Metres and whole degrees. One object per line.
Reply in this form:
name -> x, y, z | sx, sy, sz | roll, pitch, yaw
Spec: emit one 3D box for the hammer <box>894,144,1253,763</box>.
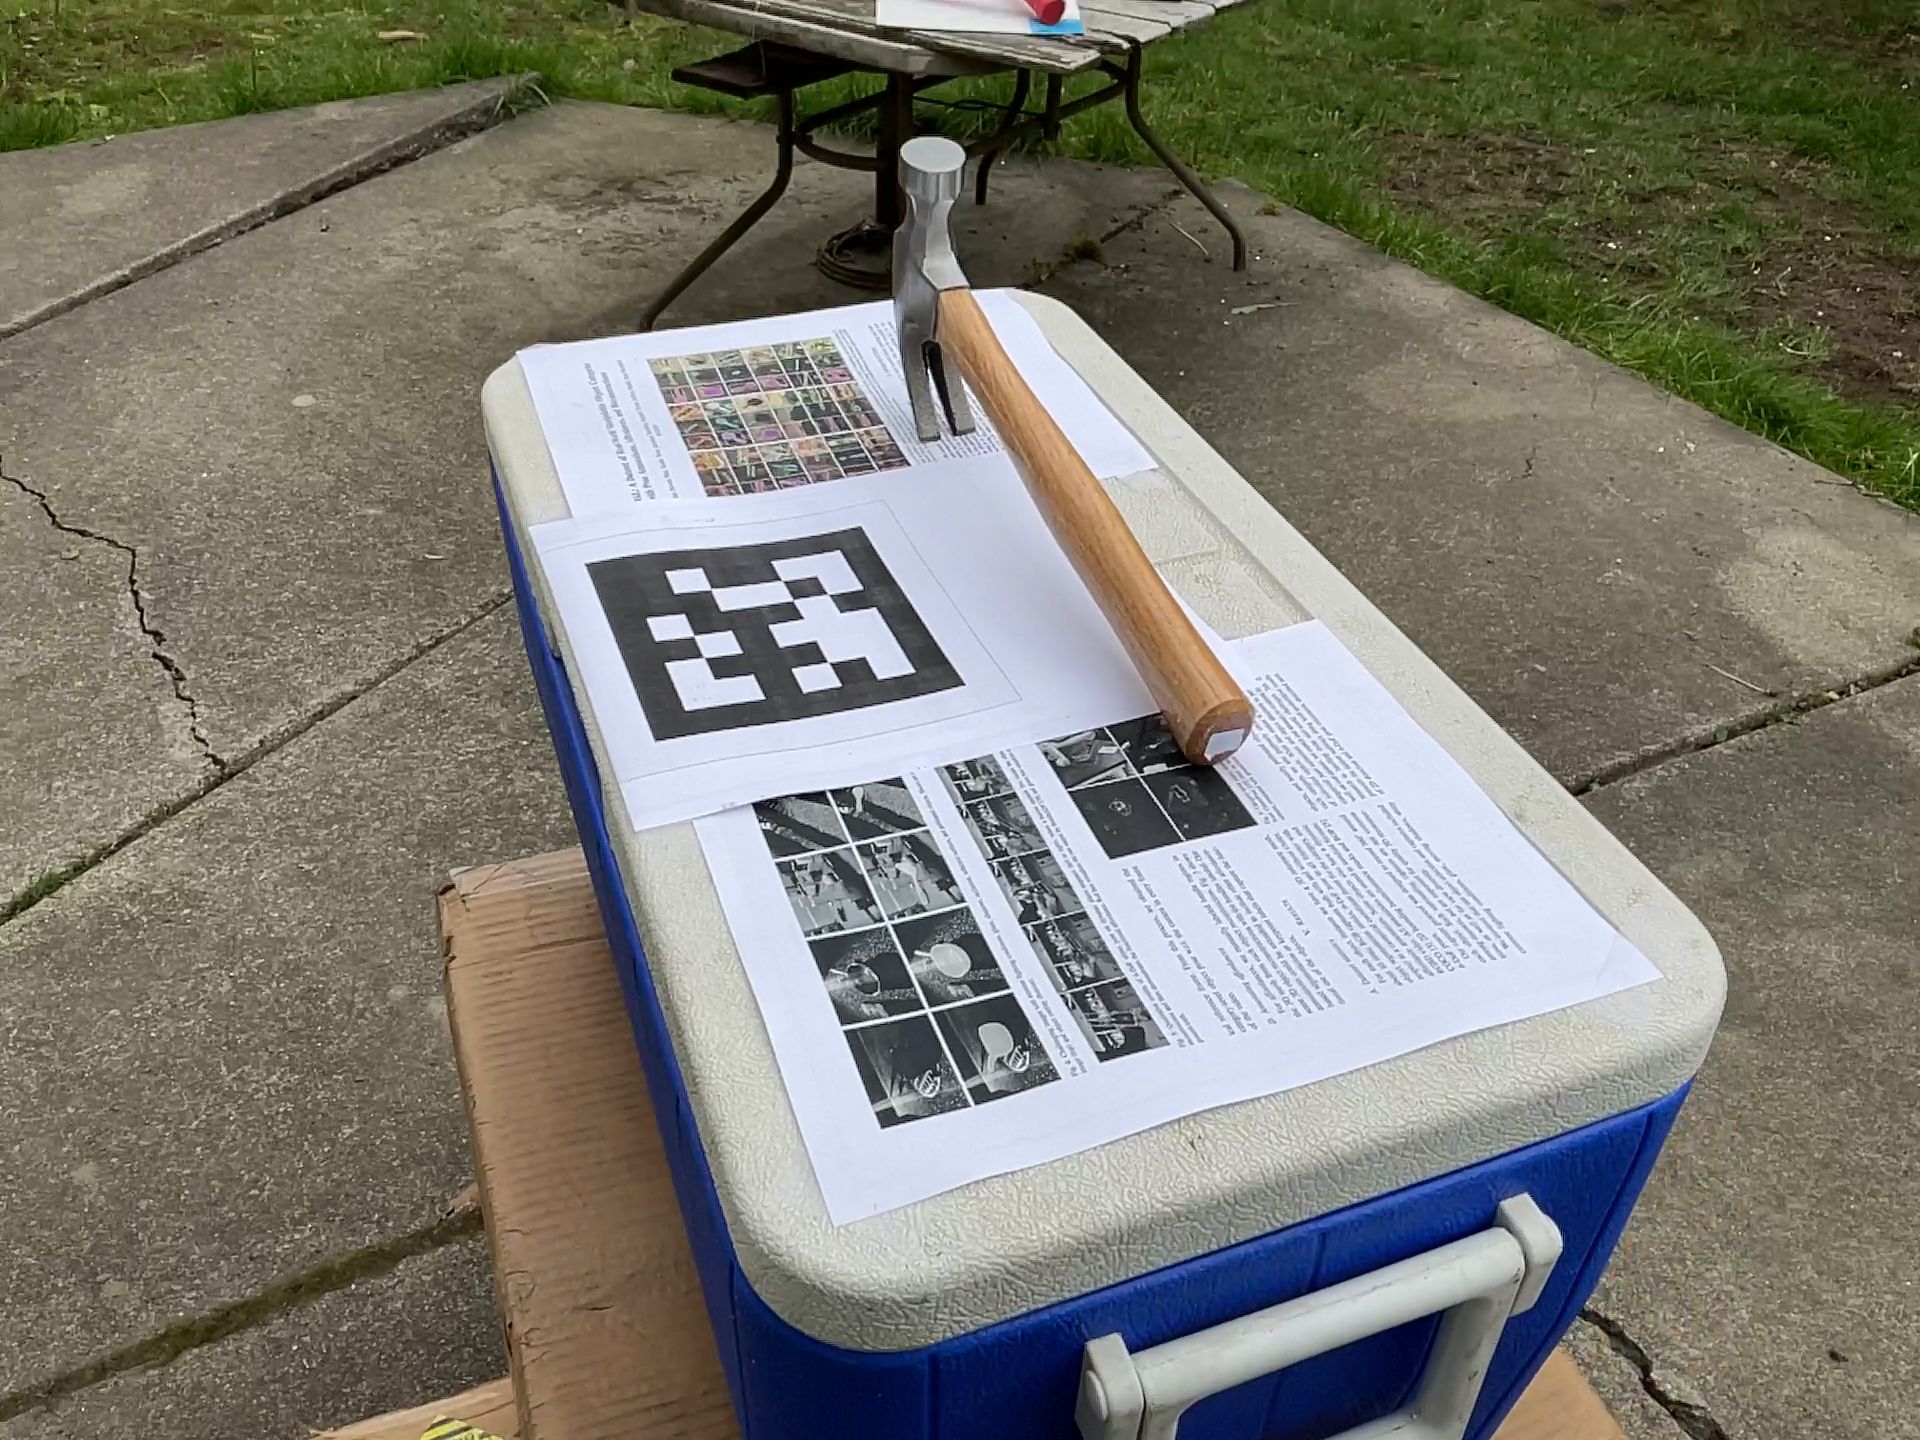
hammer -> 0.037, -0.110, 0.698 | 0.031, 0.130, 0.332 | -14, 52, -17
